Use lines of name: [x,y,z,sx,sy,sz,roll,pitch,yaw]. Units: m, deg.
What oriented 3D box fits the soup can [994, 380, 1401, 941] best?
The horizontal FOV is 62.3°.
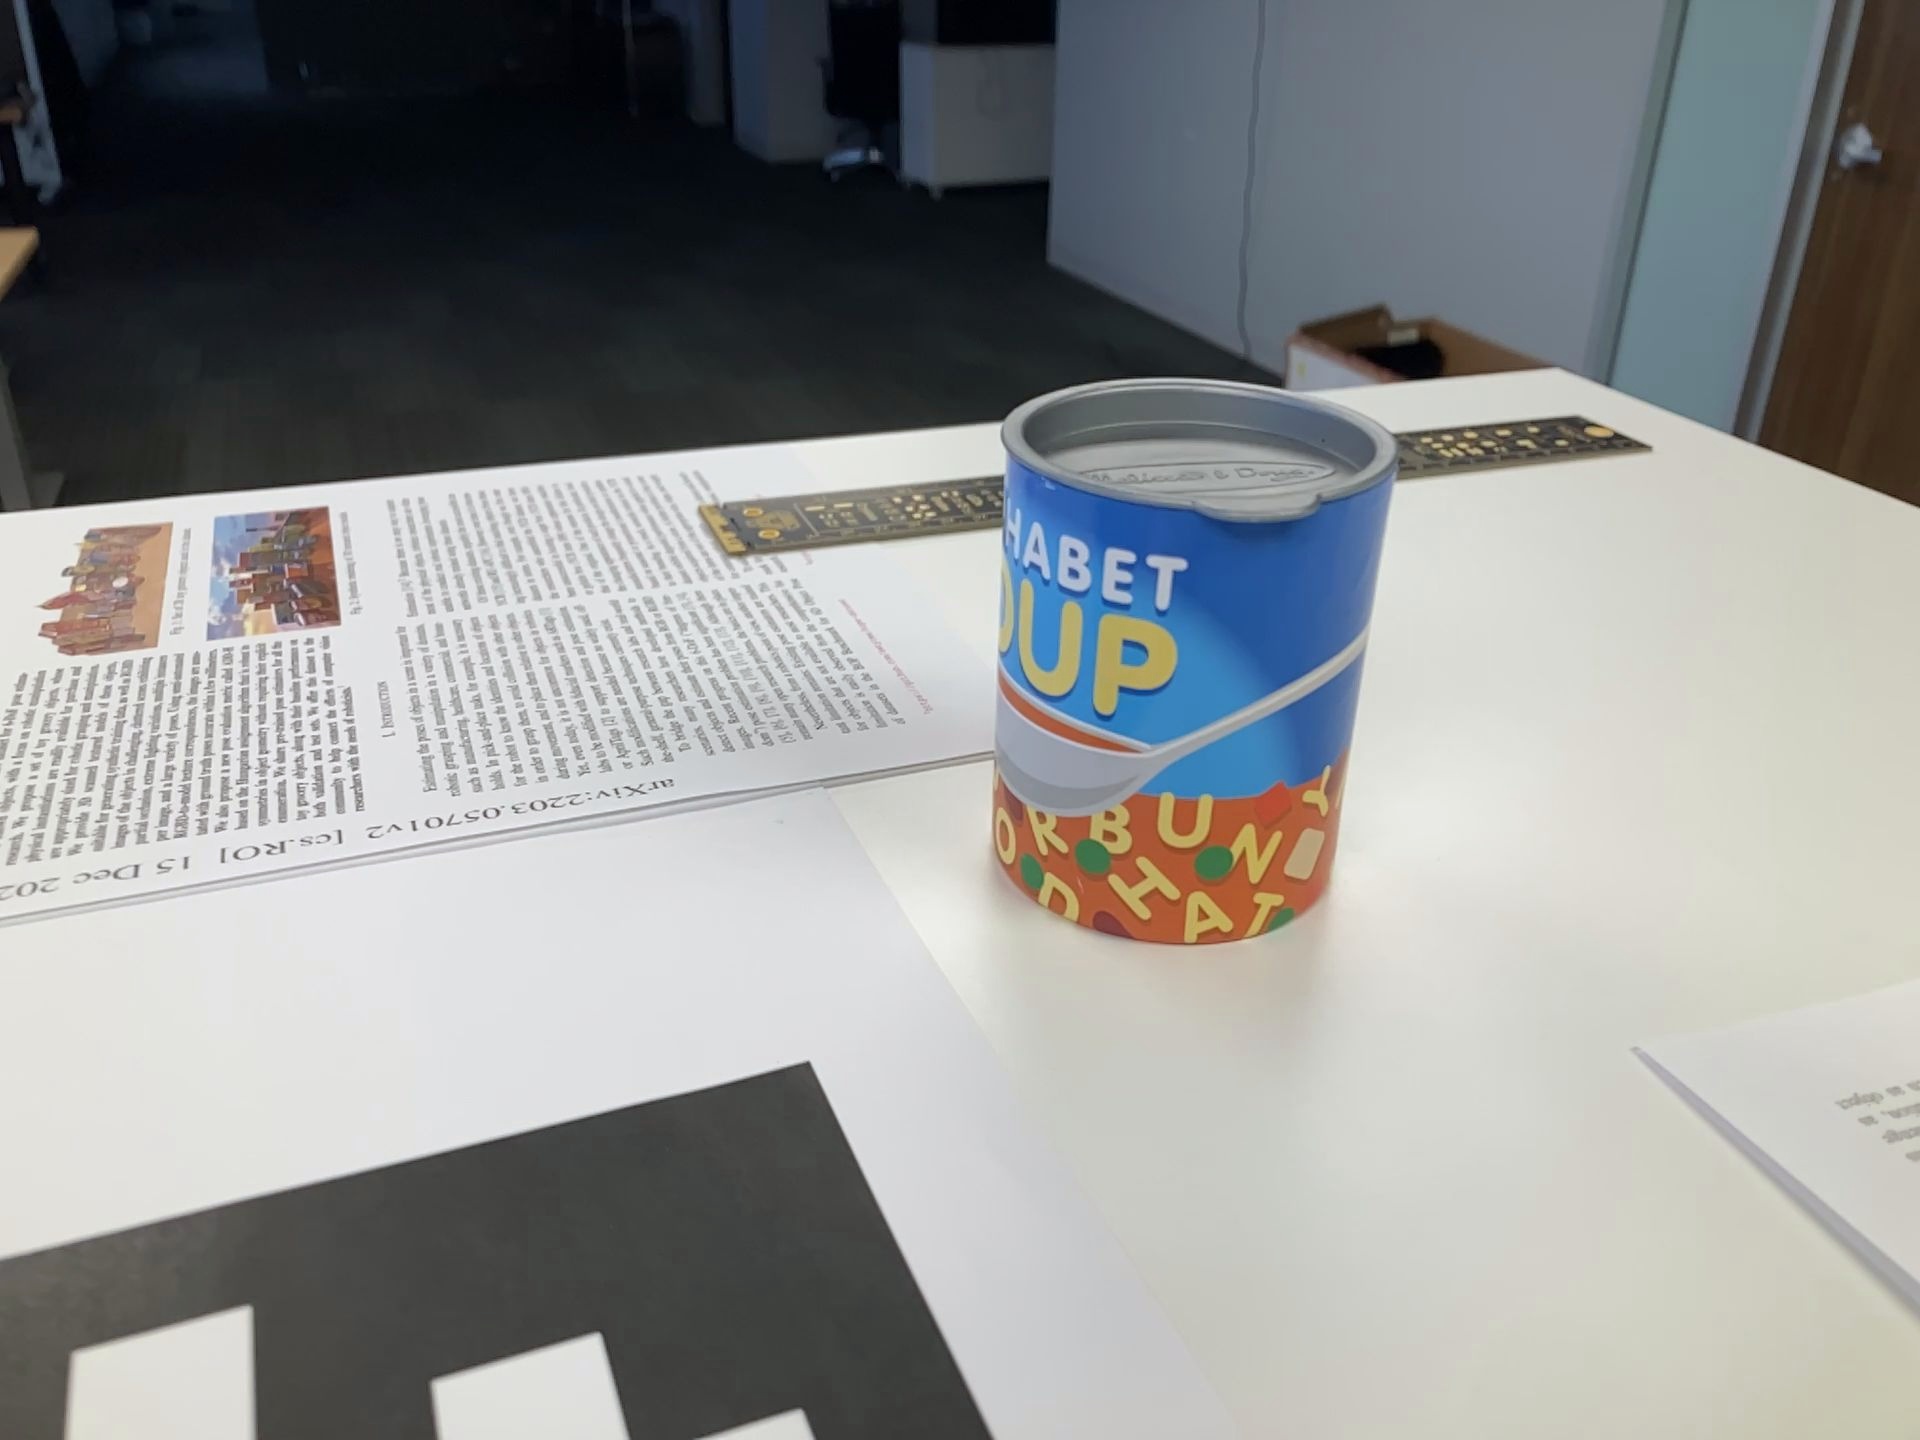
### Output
soup can: [0.037,-0.012,0.287,0.071,0.084,0.071,1,27,-1]
